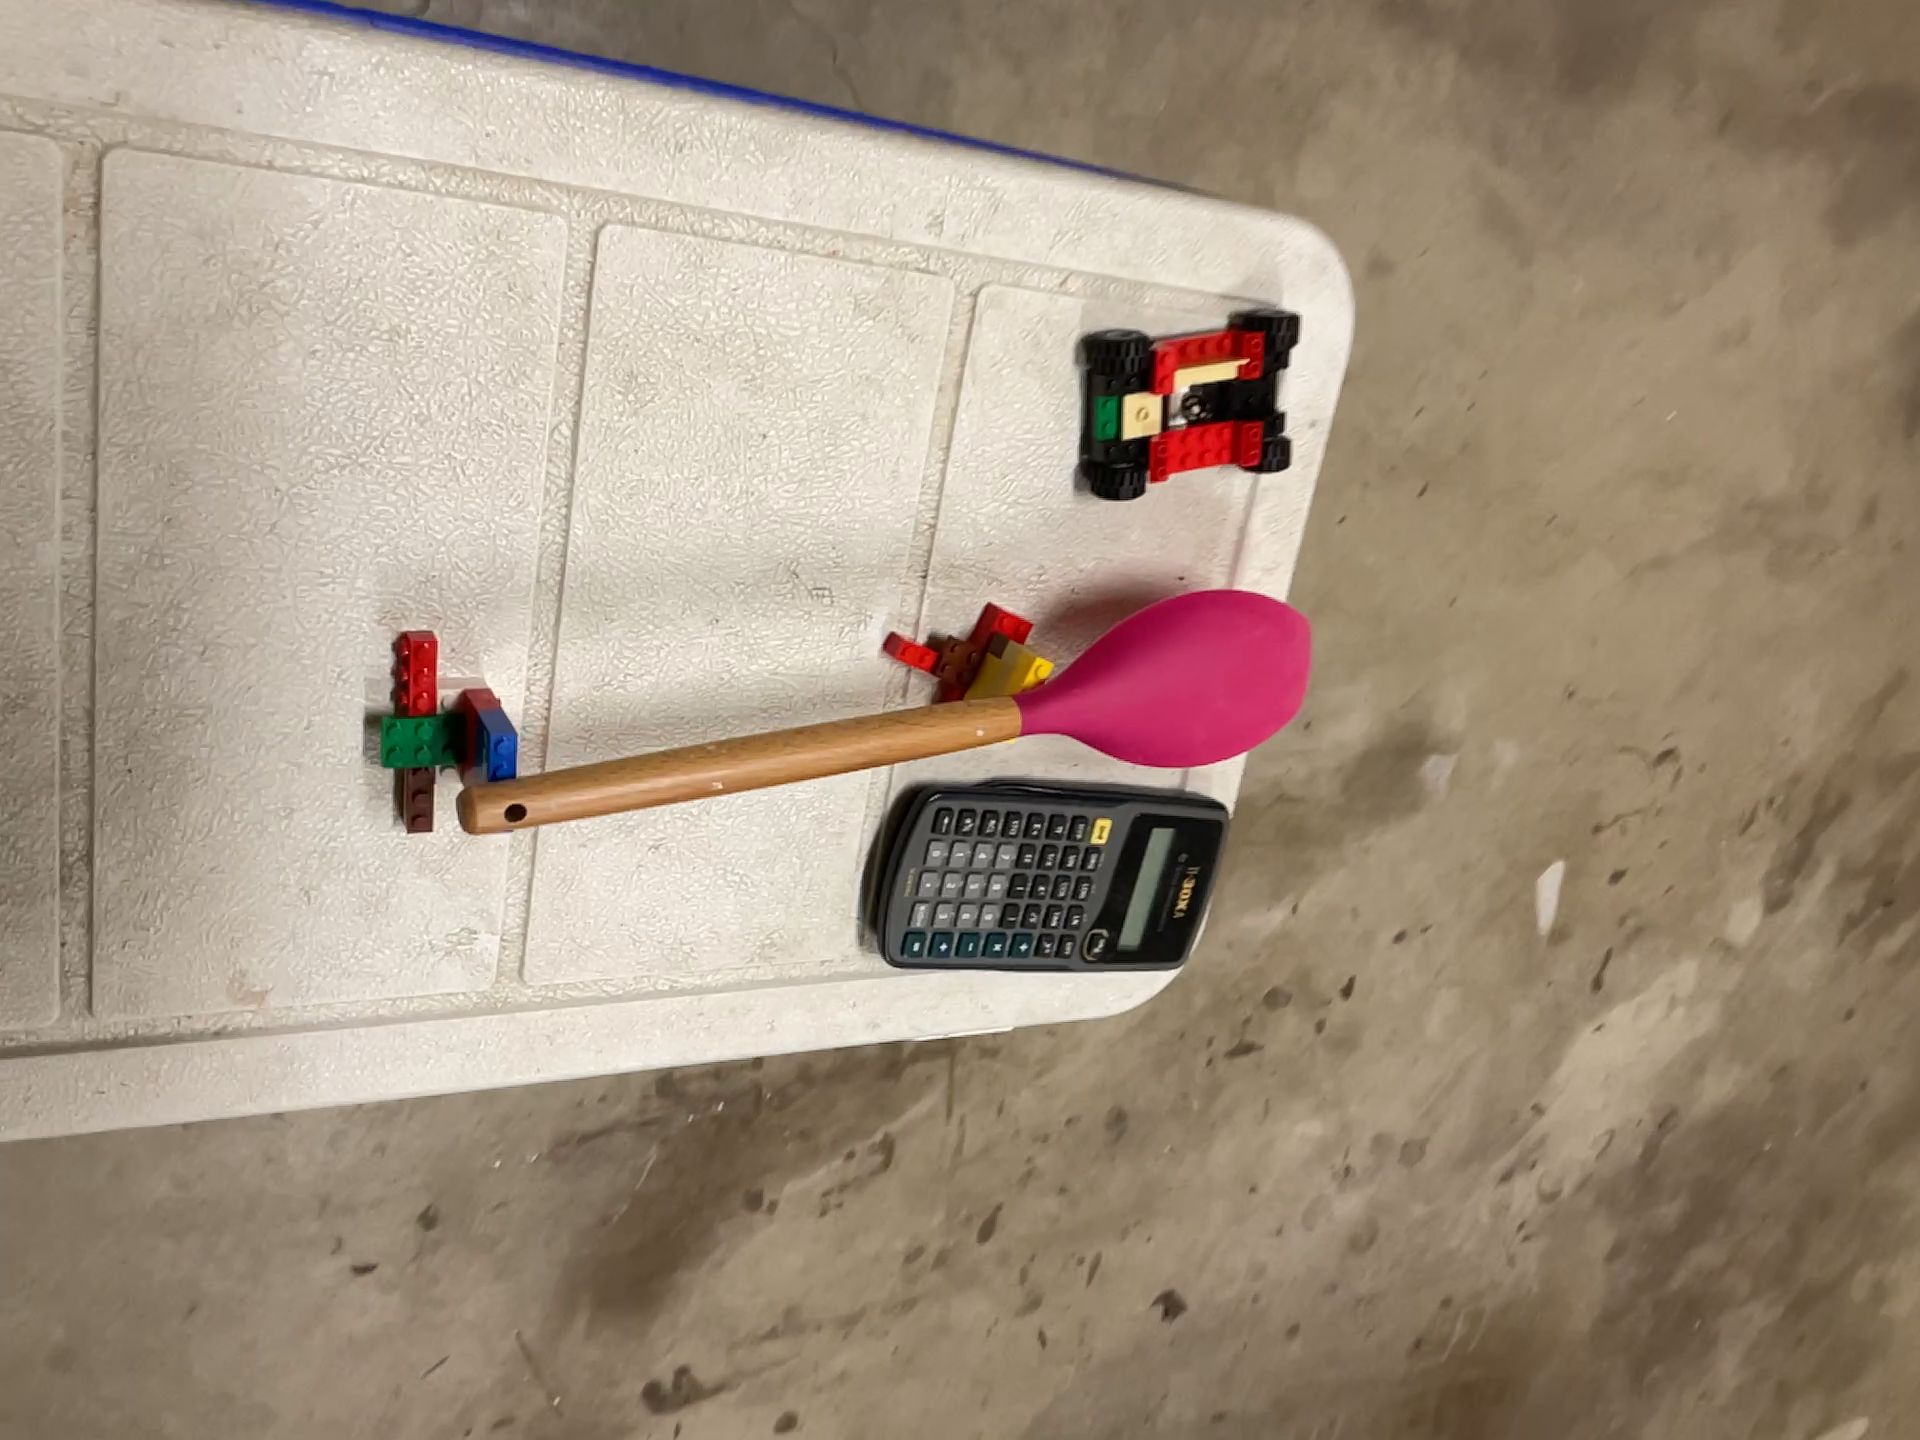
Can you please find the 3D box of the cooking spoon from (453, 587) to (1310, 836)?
[{"bbox_3d":[-0.006,0.003,0.534,0.319,0.017,0.068,-10,111,-27],"label":"cooking spoon"}]
